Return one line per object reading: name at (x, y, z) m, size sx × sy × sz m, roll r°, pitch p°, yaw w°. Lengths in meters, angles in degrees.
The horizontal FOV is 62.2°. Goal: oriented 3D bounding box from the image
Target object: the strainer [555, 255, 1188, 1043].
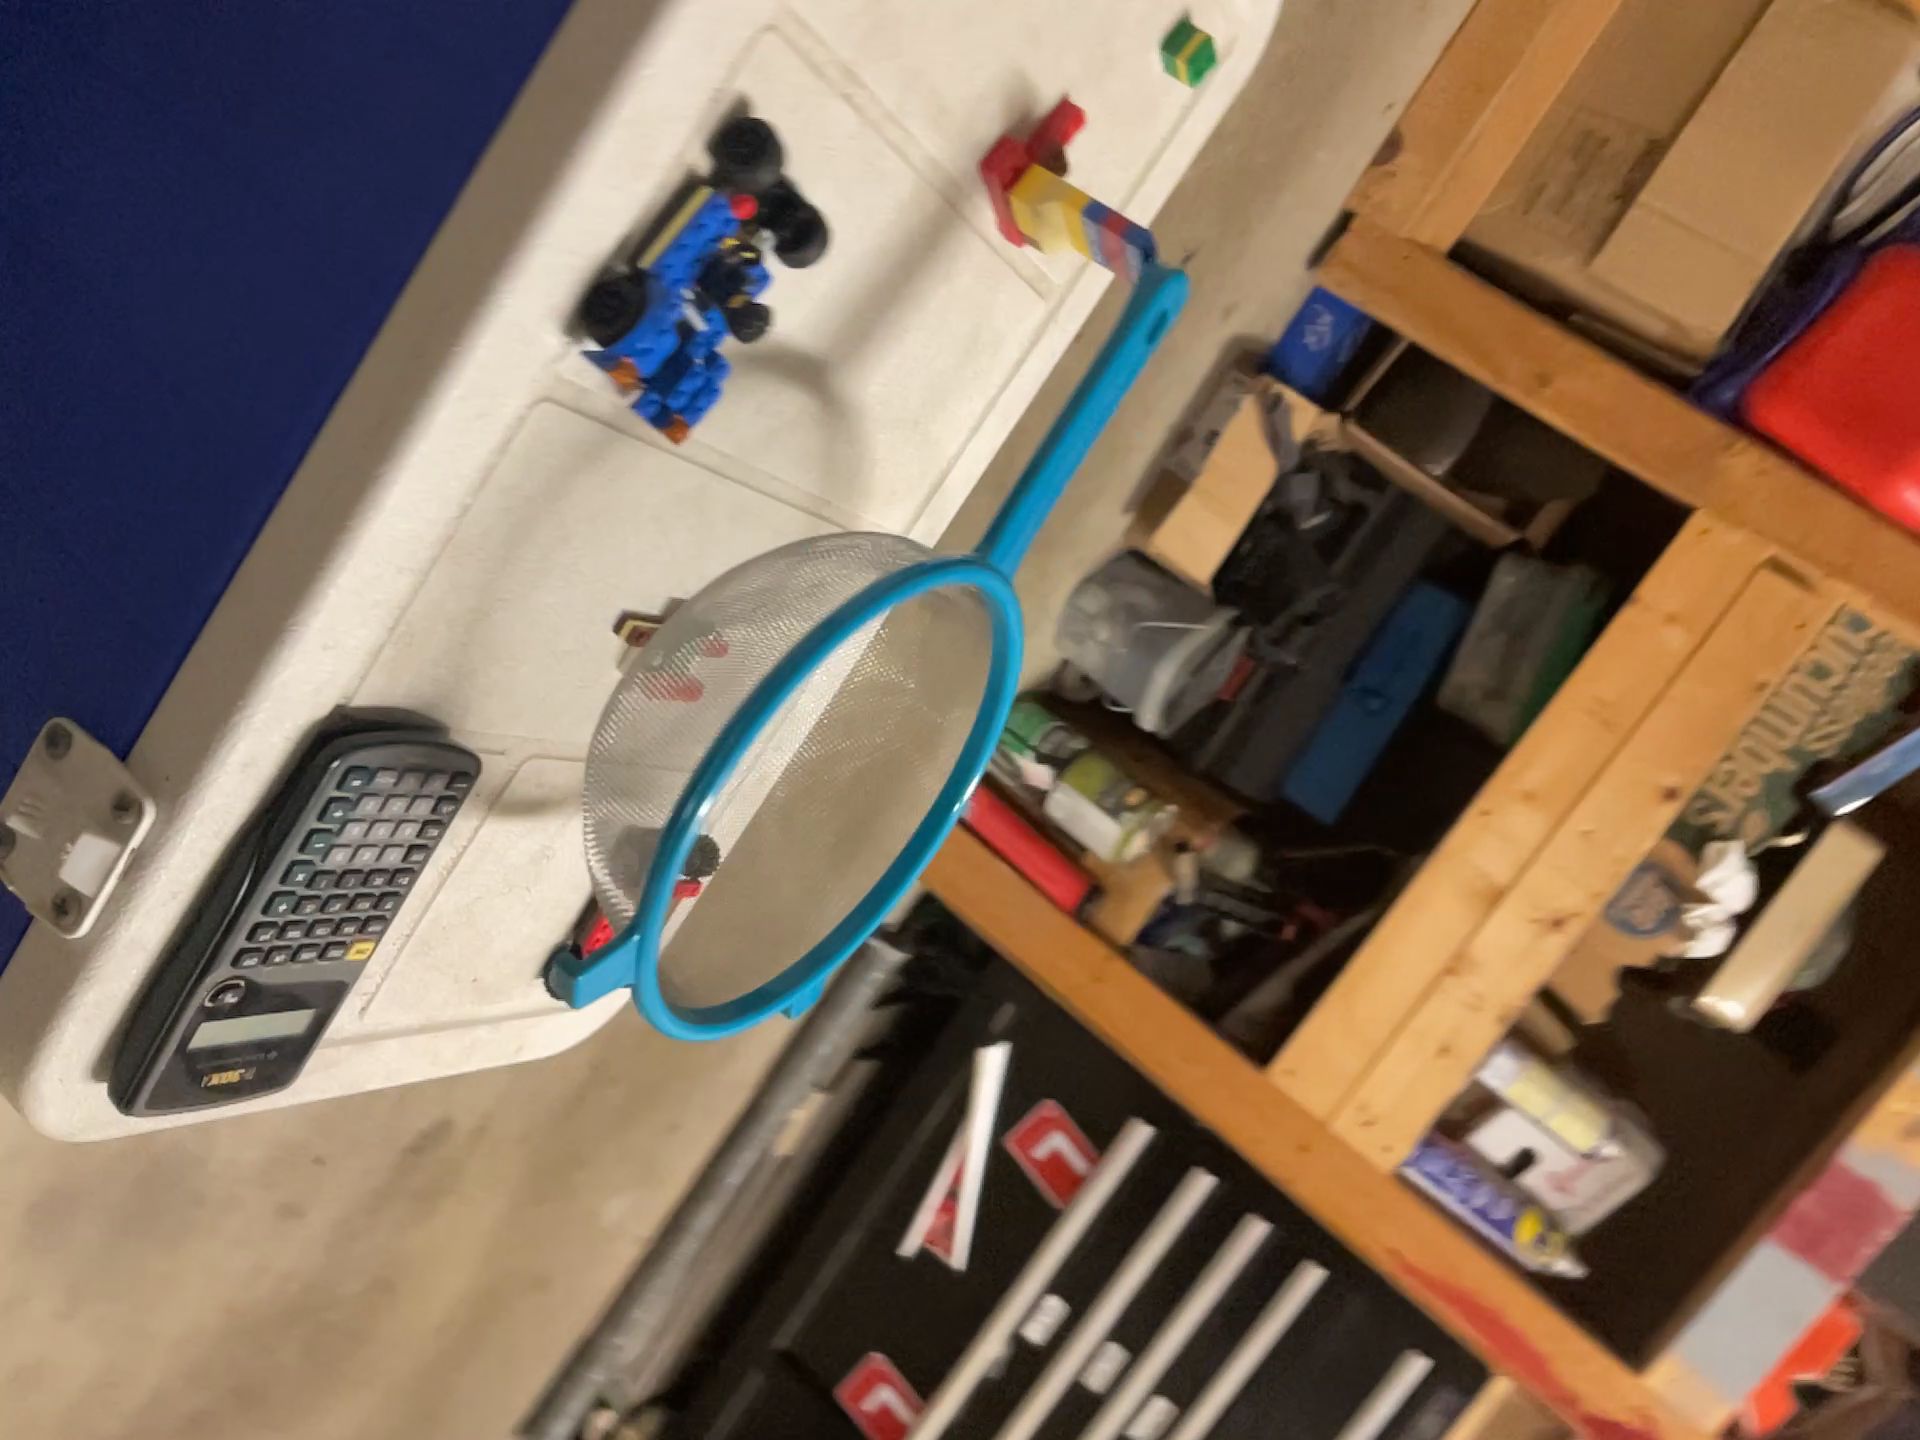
strainer at (-0.040, -0.043, 0.607) m, size 0.340 × 0.095 × 0.210 m, roll -58°, pitch 158°, yaw 0°
